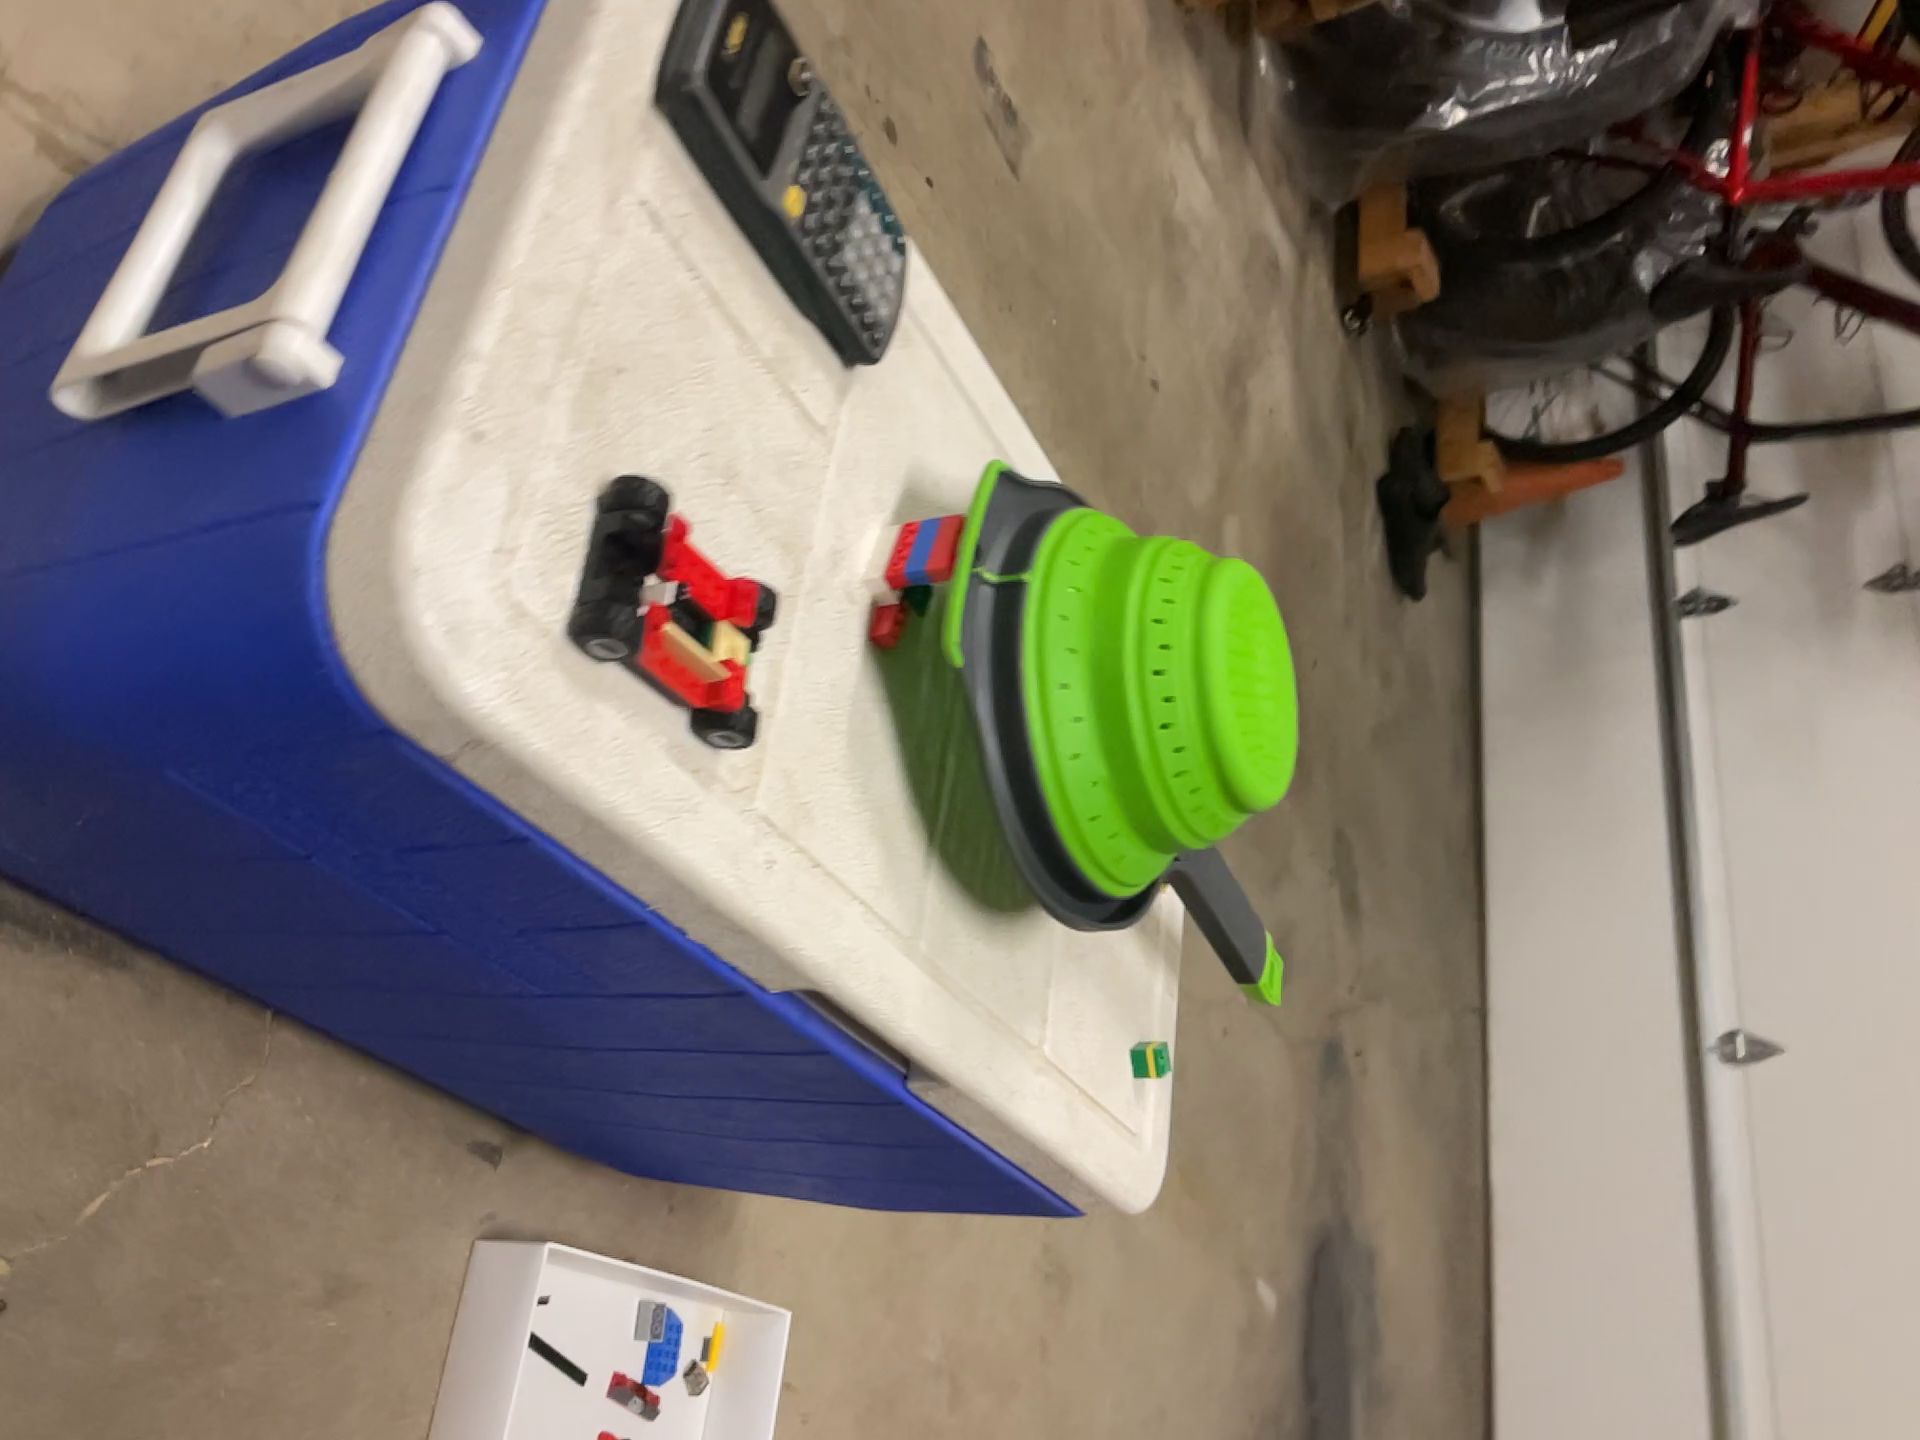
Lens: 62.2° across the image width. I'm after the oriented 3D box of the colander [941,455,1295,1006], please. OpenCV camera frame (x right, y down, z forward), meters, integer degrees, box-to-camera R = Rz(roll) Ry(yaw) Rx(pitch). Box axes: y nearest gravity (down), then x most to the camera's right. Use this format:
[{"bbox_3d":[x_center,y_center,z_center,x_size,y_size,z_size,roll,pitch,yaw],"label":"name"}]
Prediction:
[{"bbox_3d":[0.123,0.035,0.753,0.396,0.094,0.205,53,40,-45],"label":"colander"}]
